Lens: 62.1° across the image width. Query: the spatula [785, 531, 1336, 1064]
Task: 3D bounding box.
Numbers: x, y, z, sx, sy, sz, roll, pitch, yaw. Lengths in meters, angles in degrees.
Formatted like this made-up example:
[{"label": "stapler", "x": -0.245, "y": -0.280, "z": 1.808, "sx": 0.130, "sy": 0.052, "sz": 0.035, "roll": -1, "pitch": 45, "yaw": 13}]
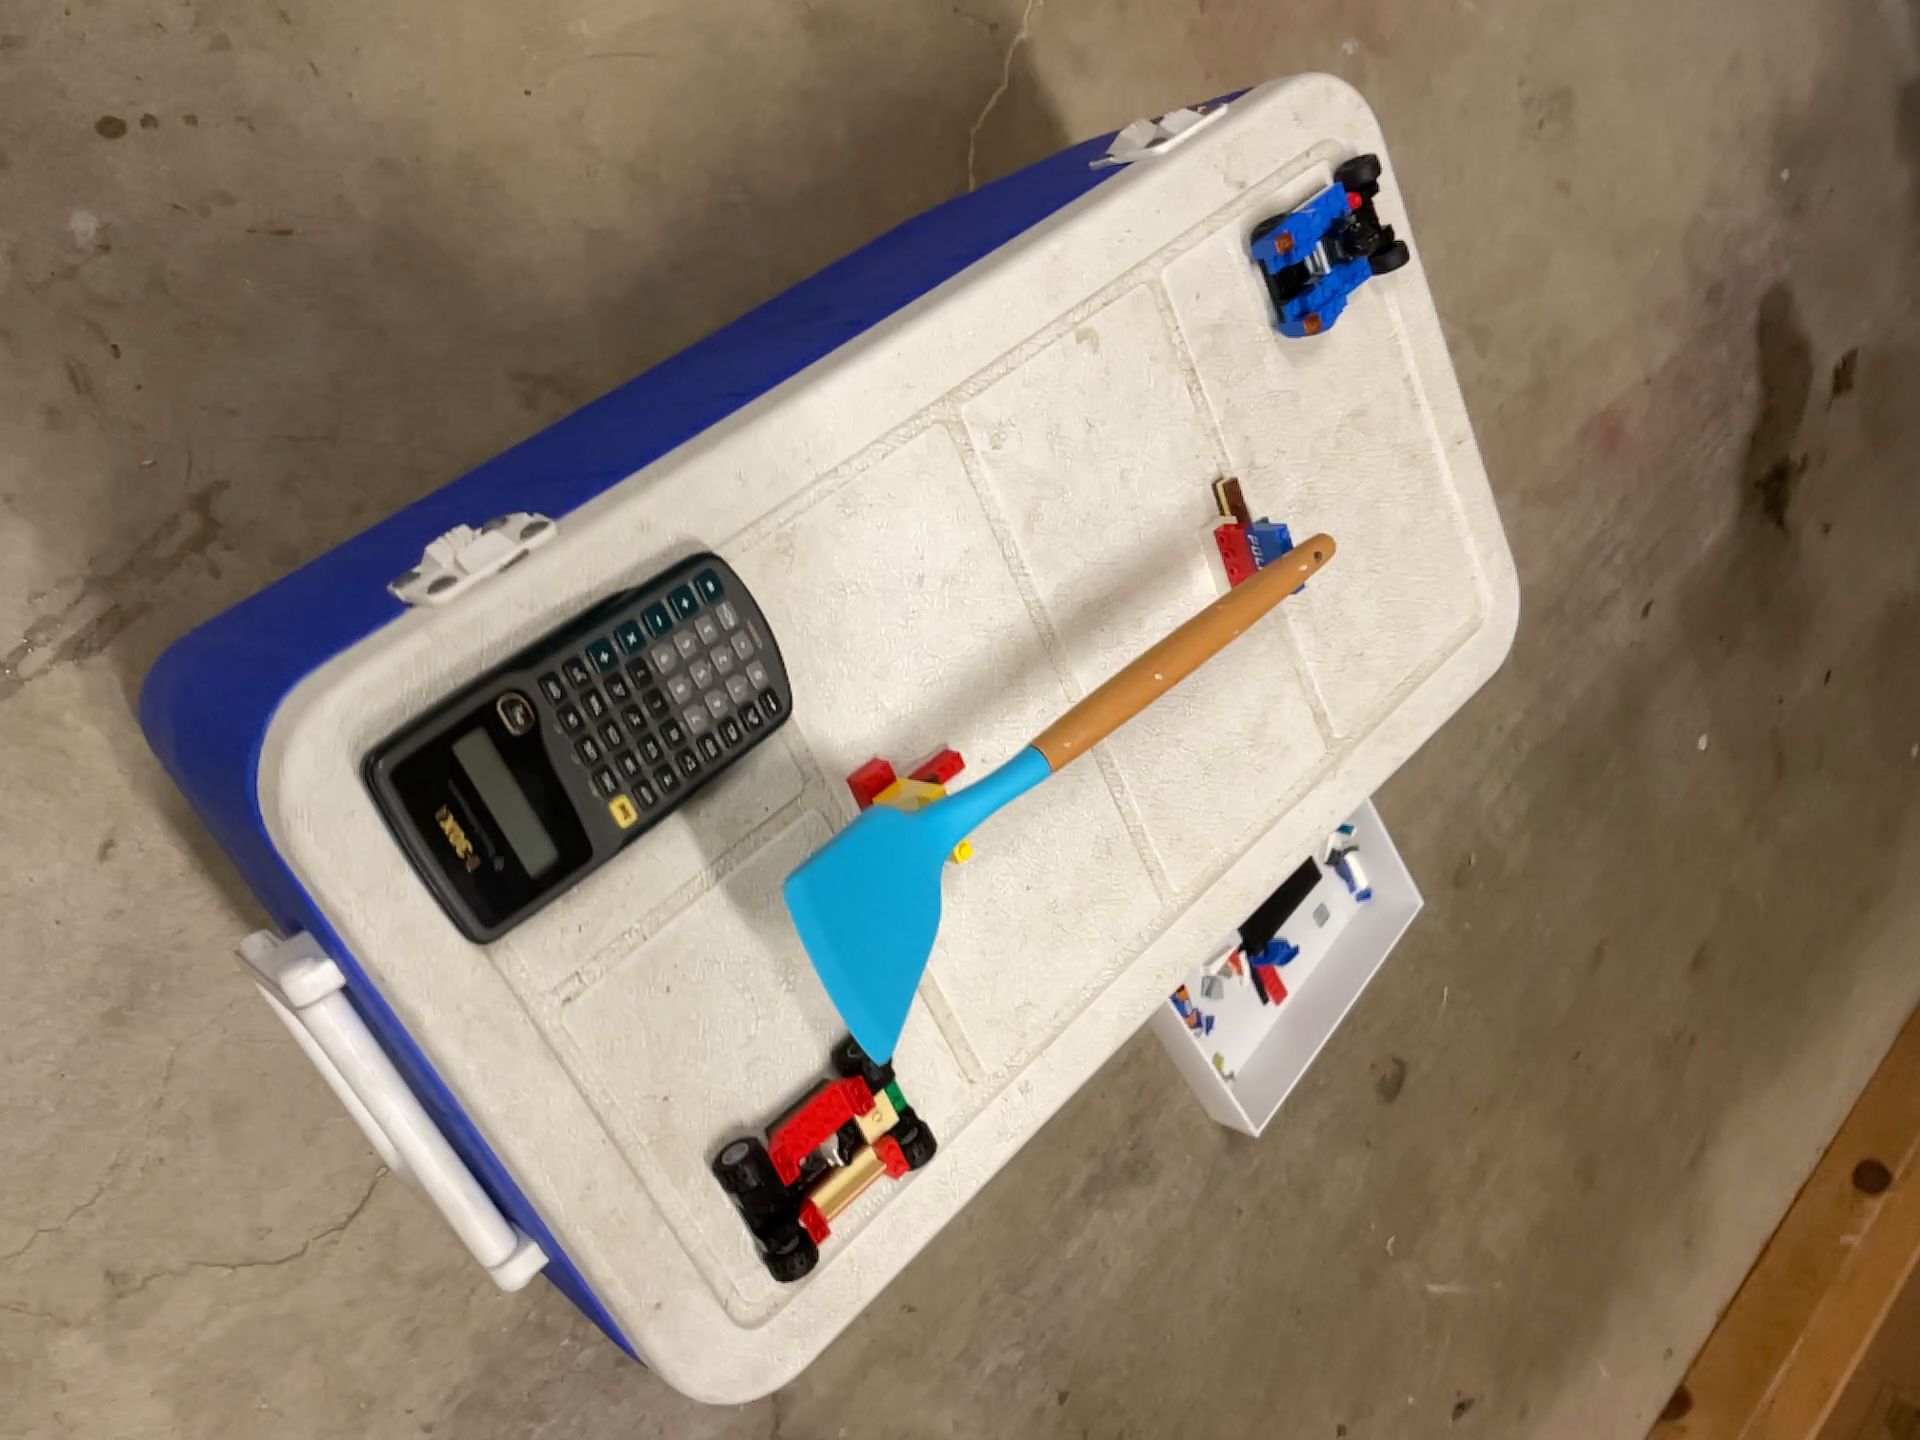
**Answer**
[{"label": "spatula", "x": 0.056, "y": 0.004, "z": 0.627, "sx": 0.318, "sy": 0.044, "sz": 0.082, "roll": -36, "pitch": 113, "yaw": -28}]
